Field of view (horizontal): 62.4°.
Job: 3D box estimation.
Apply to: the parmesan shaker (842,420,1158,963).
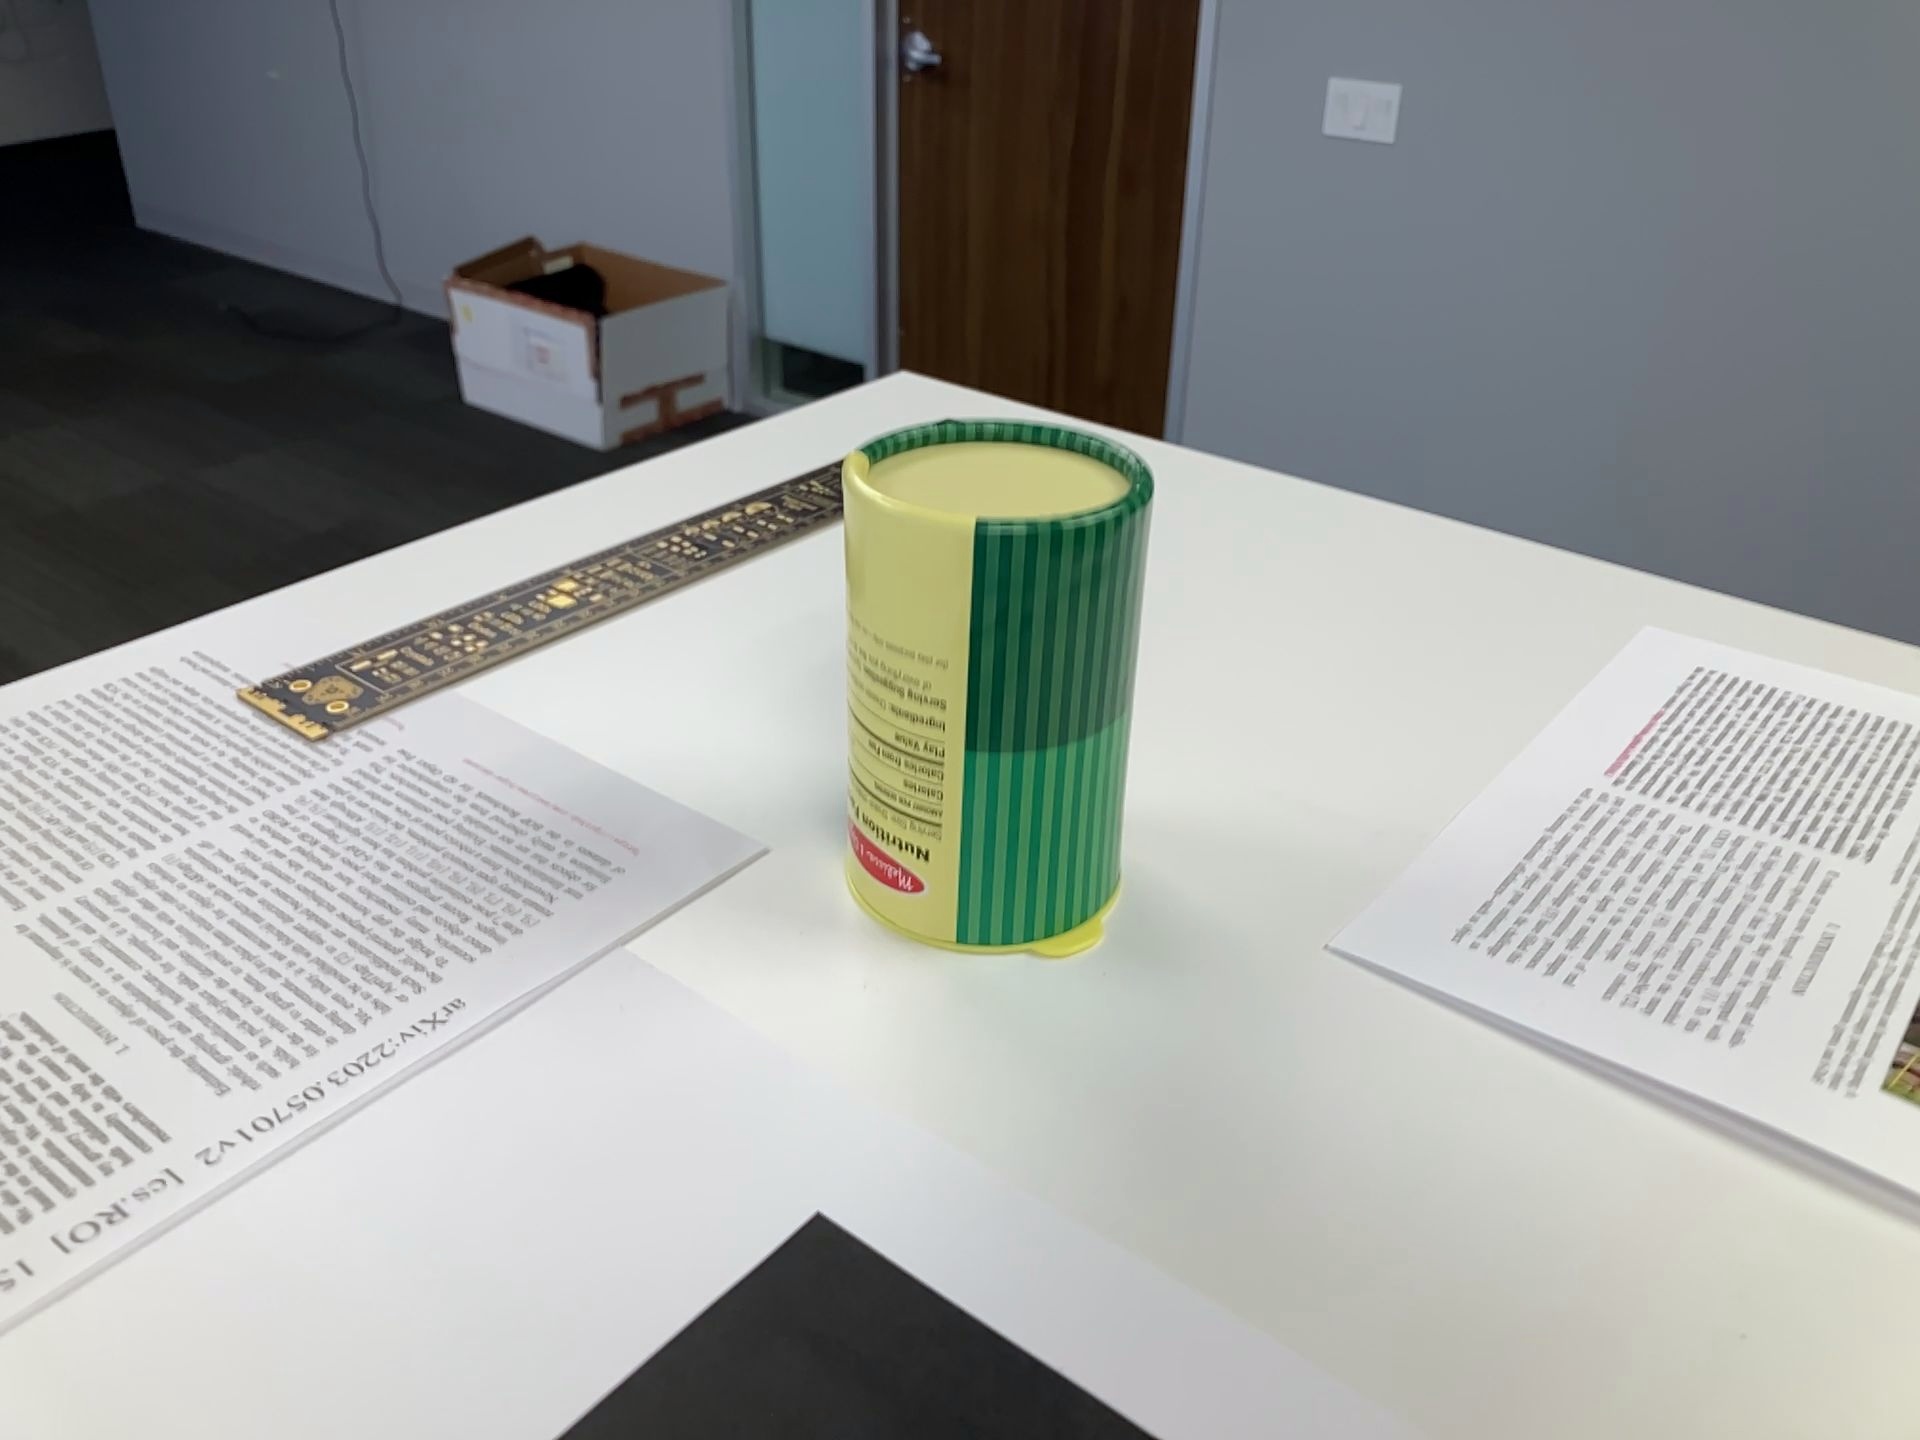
[{"bbox_3d":[0.009,-0.007,0.351,0.071,0.103,0.071,2,29,-1],"label":"parmesan shaker"}]
